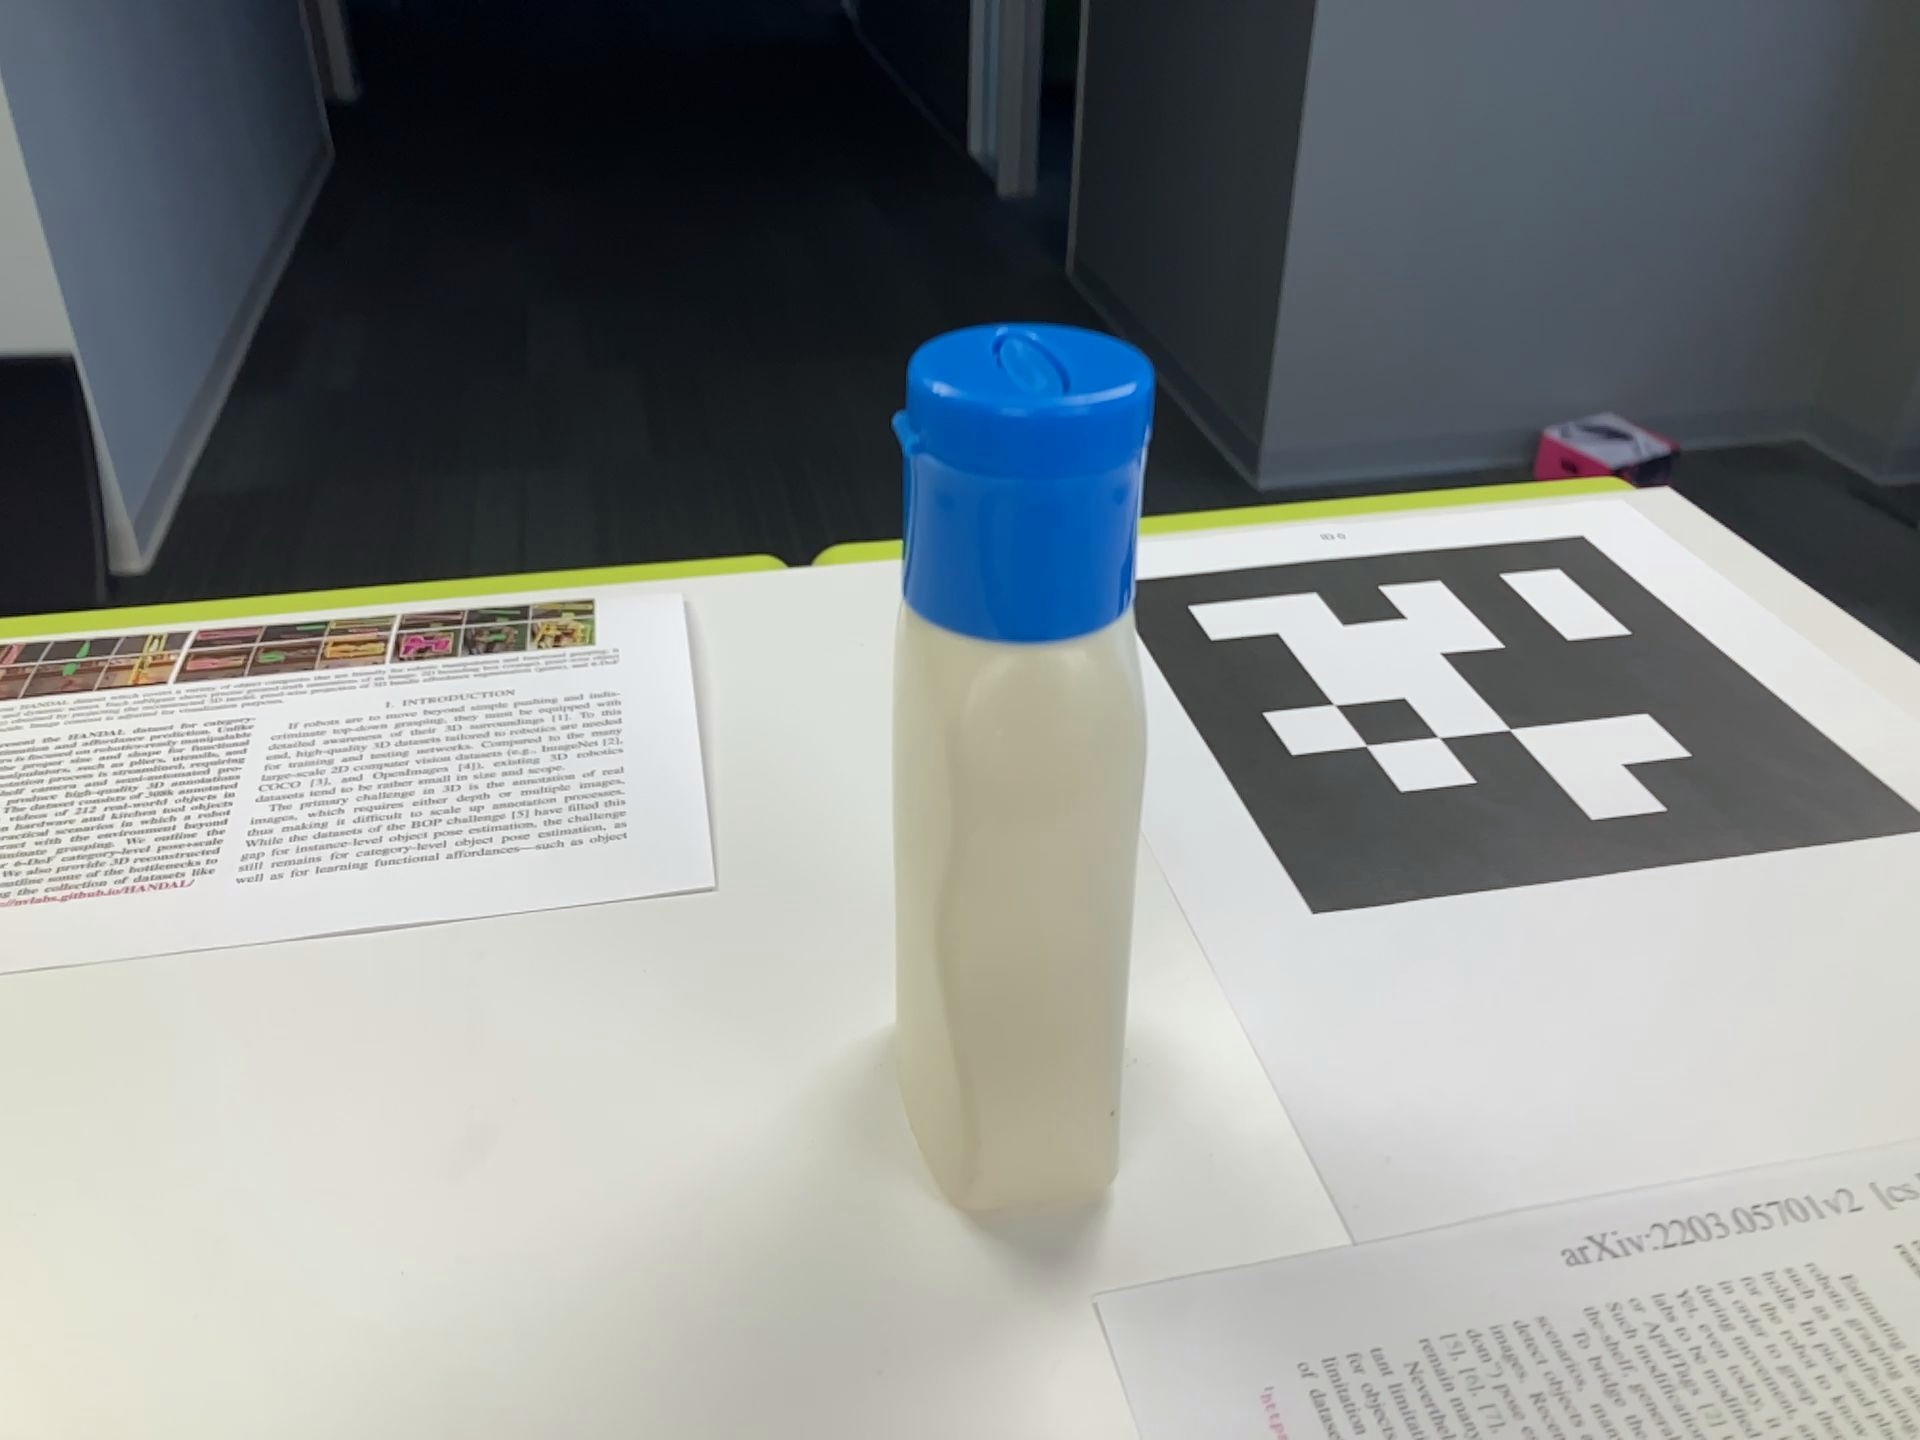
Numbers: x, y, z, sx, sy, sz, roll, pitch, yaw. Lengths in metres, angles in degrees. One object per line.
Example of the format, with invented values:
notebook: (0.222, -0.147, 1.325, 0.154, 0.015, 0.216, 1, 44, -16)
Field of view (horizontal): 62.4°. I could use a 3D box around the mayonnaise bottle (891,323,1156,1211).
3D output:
mayonnaise bottle: (0.010, 0.011, 0.267, 0.041, 0.148, 0.065, -6, 33, -11)
